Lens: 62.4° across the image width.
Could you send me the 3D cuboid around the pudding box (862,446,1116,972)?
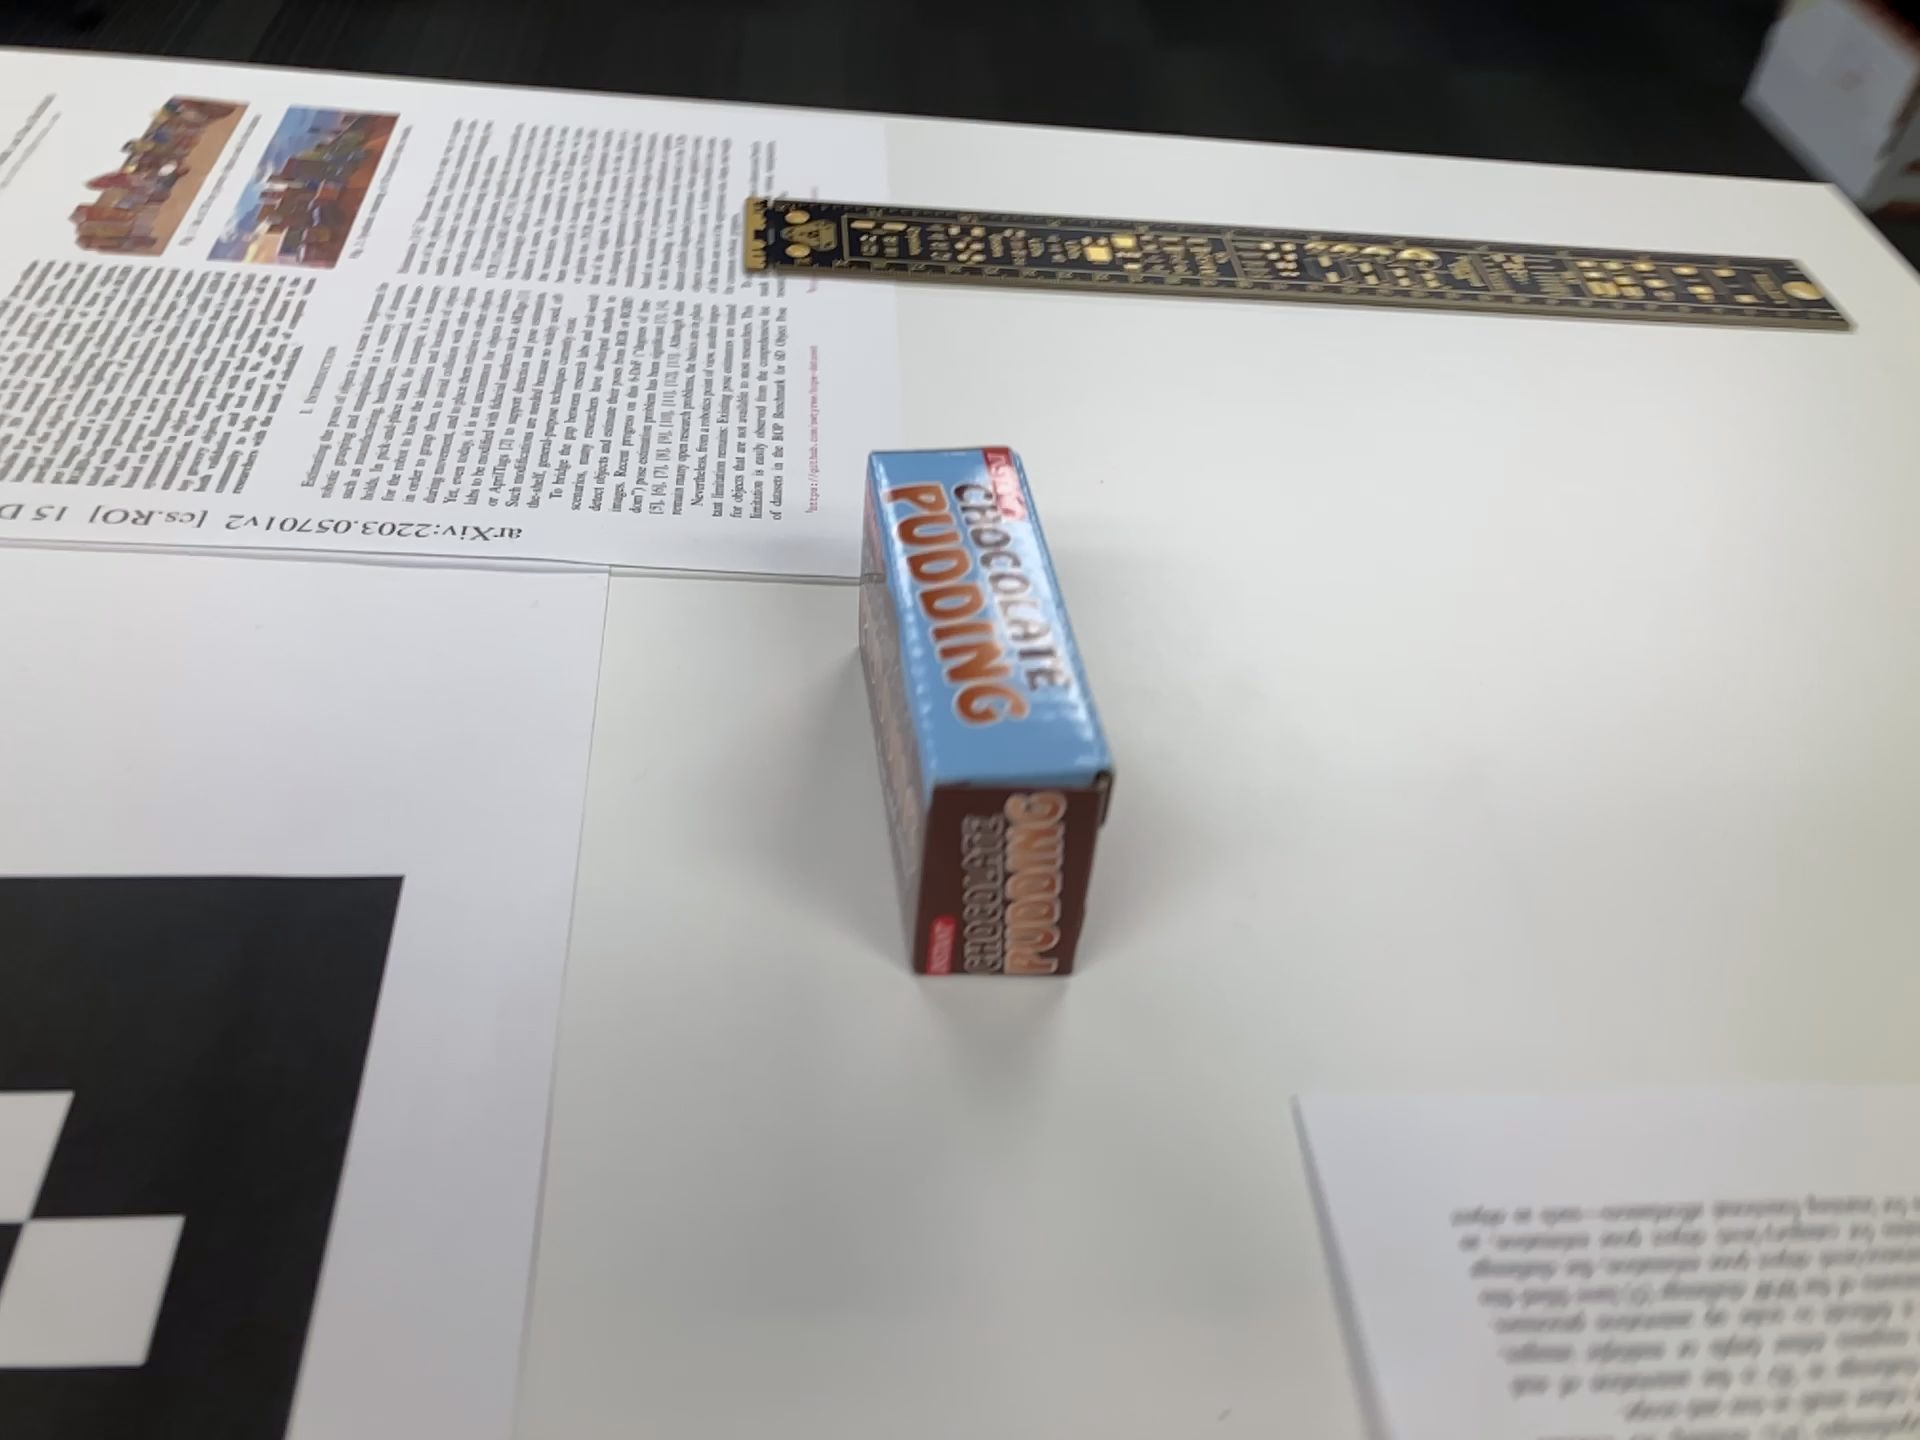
[{"bbox_3d":[0.002,-0.004,0.275,0.030,0.049,0.083,-3,46,-9],"label":"pudding box"}]
